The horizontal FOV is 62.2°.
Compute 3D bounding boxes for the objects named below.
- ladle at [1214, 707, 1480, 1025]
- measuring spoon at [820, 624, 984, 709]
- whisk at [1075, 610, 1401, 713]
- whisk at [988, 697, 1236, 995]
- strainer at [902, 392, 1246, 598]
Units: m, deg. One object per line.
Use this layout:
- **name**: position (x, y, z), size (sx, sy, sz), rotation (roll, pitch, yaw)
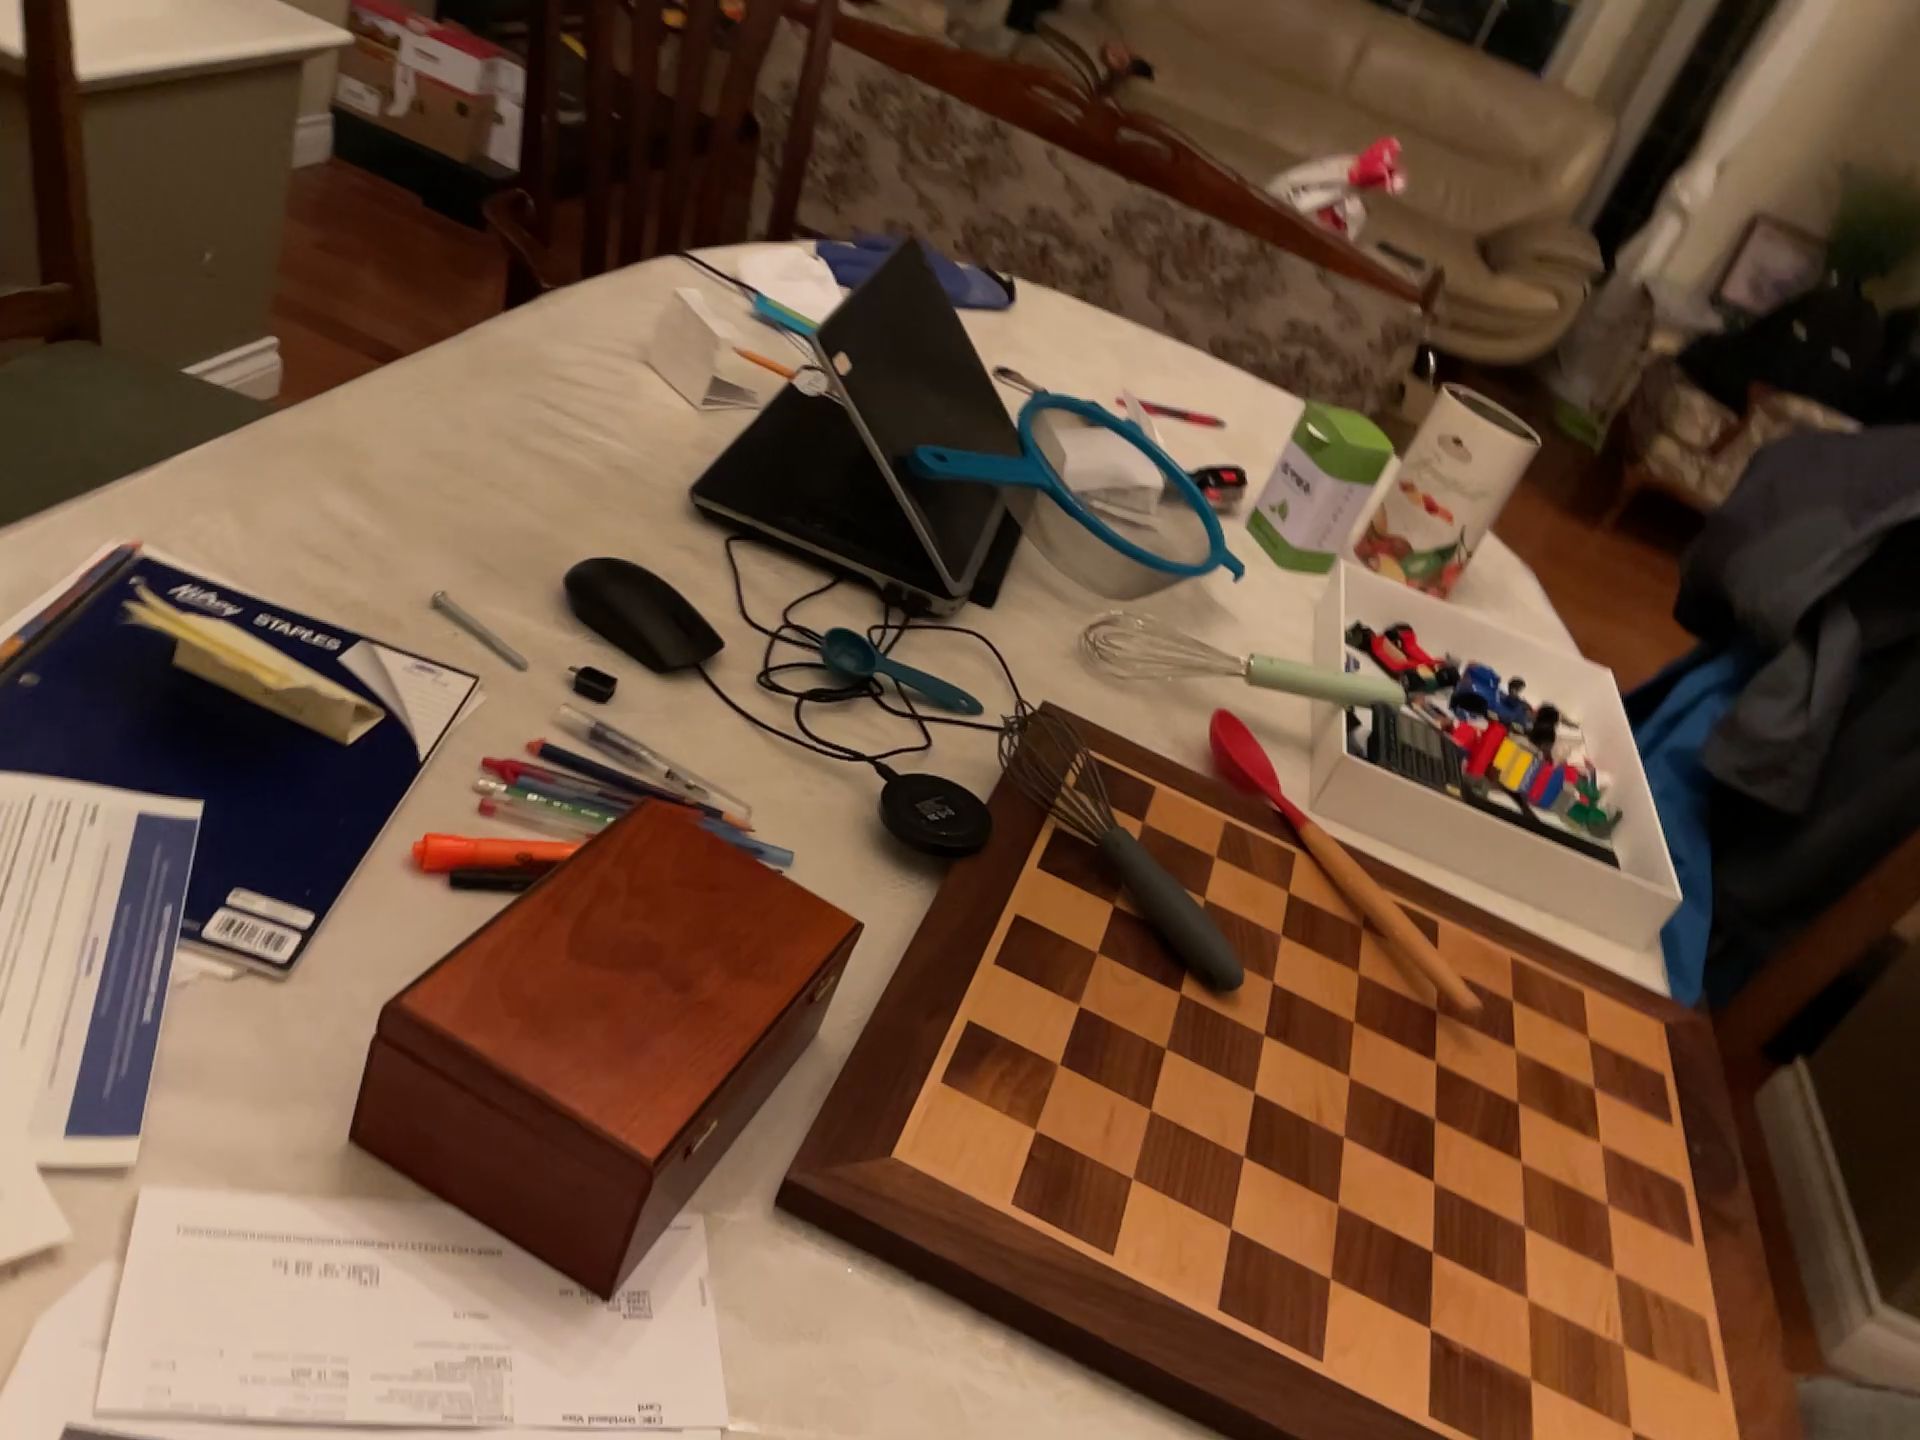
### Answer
- **ladle**: position (0.246, 0.089, 1.048), size (0.069, 0.031, 0.316), rotation (29, 18, -36)
- **measuring spoon**: position (-0.042, -0.028, 1.082), size (0.128, 0.021, 0.042), rotation (23, 36, -25)
- **whisk**: position (0.208, -0.041, 1.199), size (0.246, 0.057, 0.059), rotation (12, 60, 7)
- **whisk**: position (0.089, 0.074, 0.958), size (0.055, 0.055, 0.239), rotation (-16, 51, -29)
- **strainer**: position (0.067, -0.169, 1.286), size (0.340, 0.095, 0.211), rotation (-2, 51, -44)
